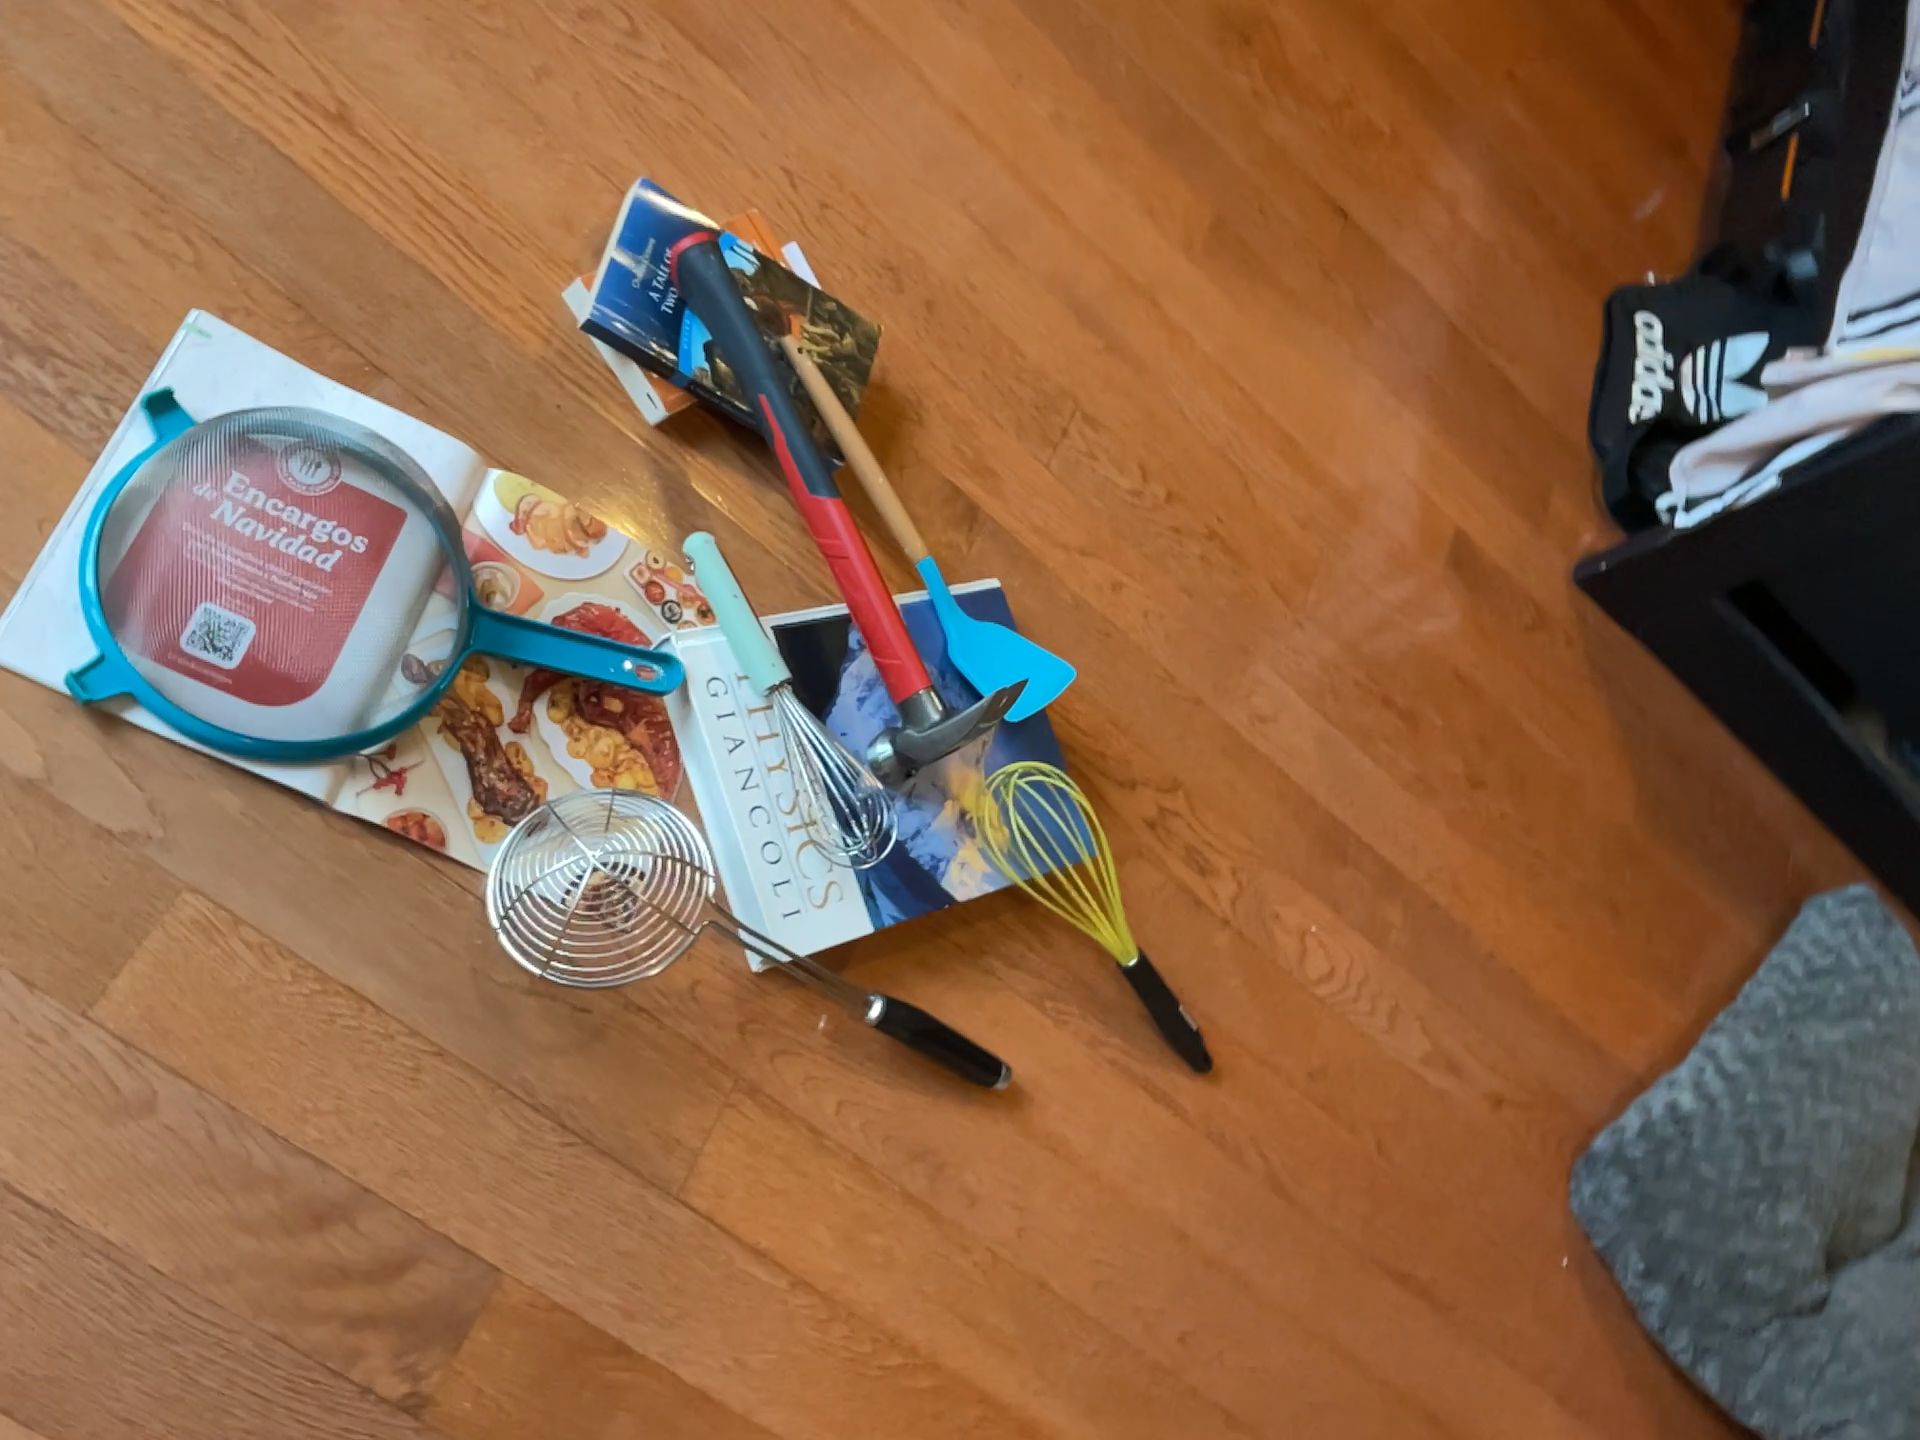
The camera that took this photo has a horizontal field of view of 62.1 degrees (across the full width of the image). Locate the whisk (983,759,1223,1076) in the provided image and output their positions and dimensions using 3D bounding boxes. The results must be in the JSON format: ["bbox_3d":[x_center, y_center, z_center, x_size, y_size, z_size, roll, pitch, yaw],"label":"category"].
[{"bbox_3d":[0.108,0.151,1.128,0.311,0.067,0.080,54,34,-25],"label":"whisk"}]

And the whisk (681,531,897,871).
[{"bbox_3d":[-0.114,-0.014,1.020,0.059,0.057,0.246,-28,84,-9],"label":"whisk"}]

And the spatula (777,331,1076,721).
[{"bbox_3d":[-0.035,-0.141,1.124,0.082,0.044,0.317,-34,93,-38],"label":"spatula"}]

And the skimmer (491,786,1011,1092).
[{"bbox_3d":[-0.117,0.160,1.001,0.363,0.090,0.128,36,52,-33],"label":"skimmer"}]

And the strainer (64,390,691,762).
[{"bbox_3d":[-0.306,-0.076,0.903,0.340,0.095,0.211,14,64,-24],"label":"strainer"}]

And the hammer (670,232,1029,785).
[{"bbox_3d":[-0.086,-0.154,1.041,0.038,0.143,0.386,-20,82,-43],"label":"hammer"}]
